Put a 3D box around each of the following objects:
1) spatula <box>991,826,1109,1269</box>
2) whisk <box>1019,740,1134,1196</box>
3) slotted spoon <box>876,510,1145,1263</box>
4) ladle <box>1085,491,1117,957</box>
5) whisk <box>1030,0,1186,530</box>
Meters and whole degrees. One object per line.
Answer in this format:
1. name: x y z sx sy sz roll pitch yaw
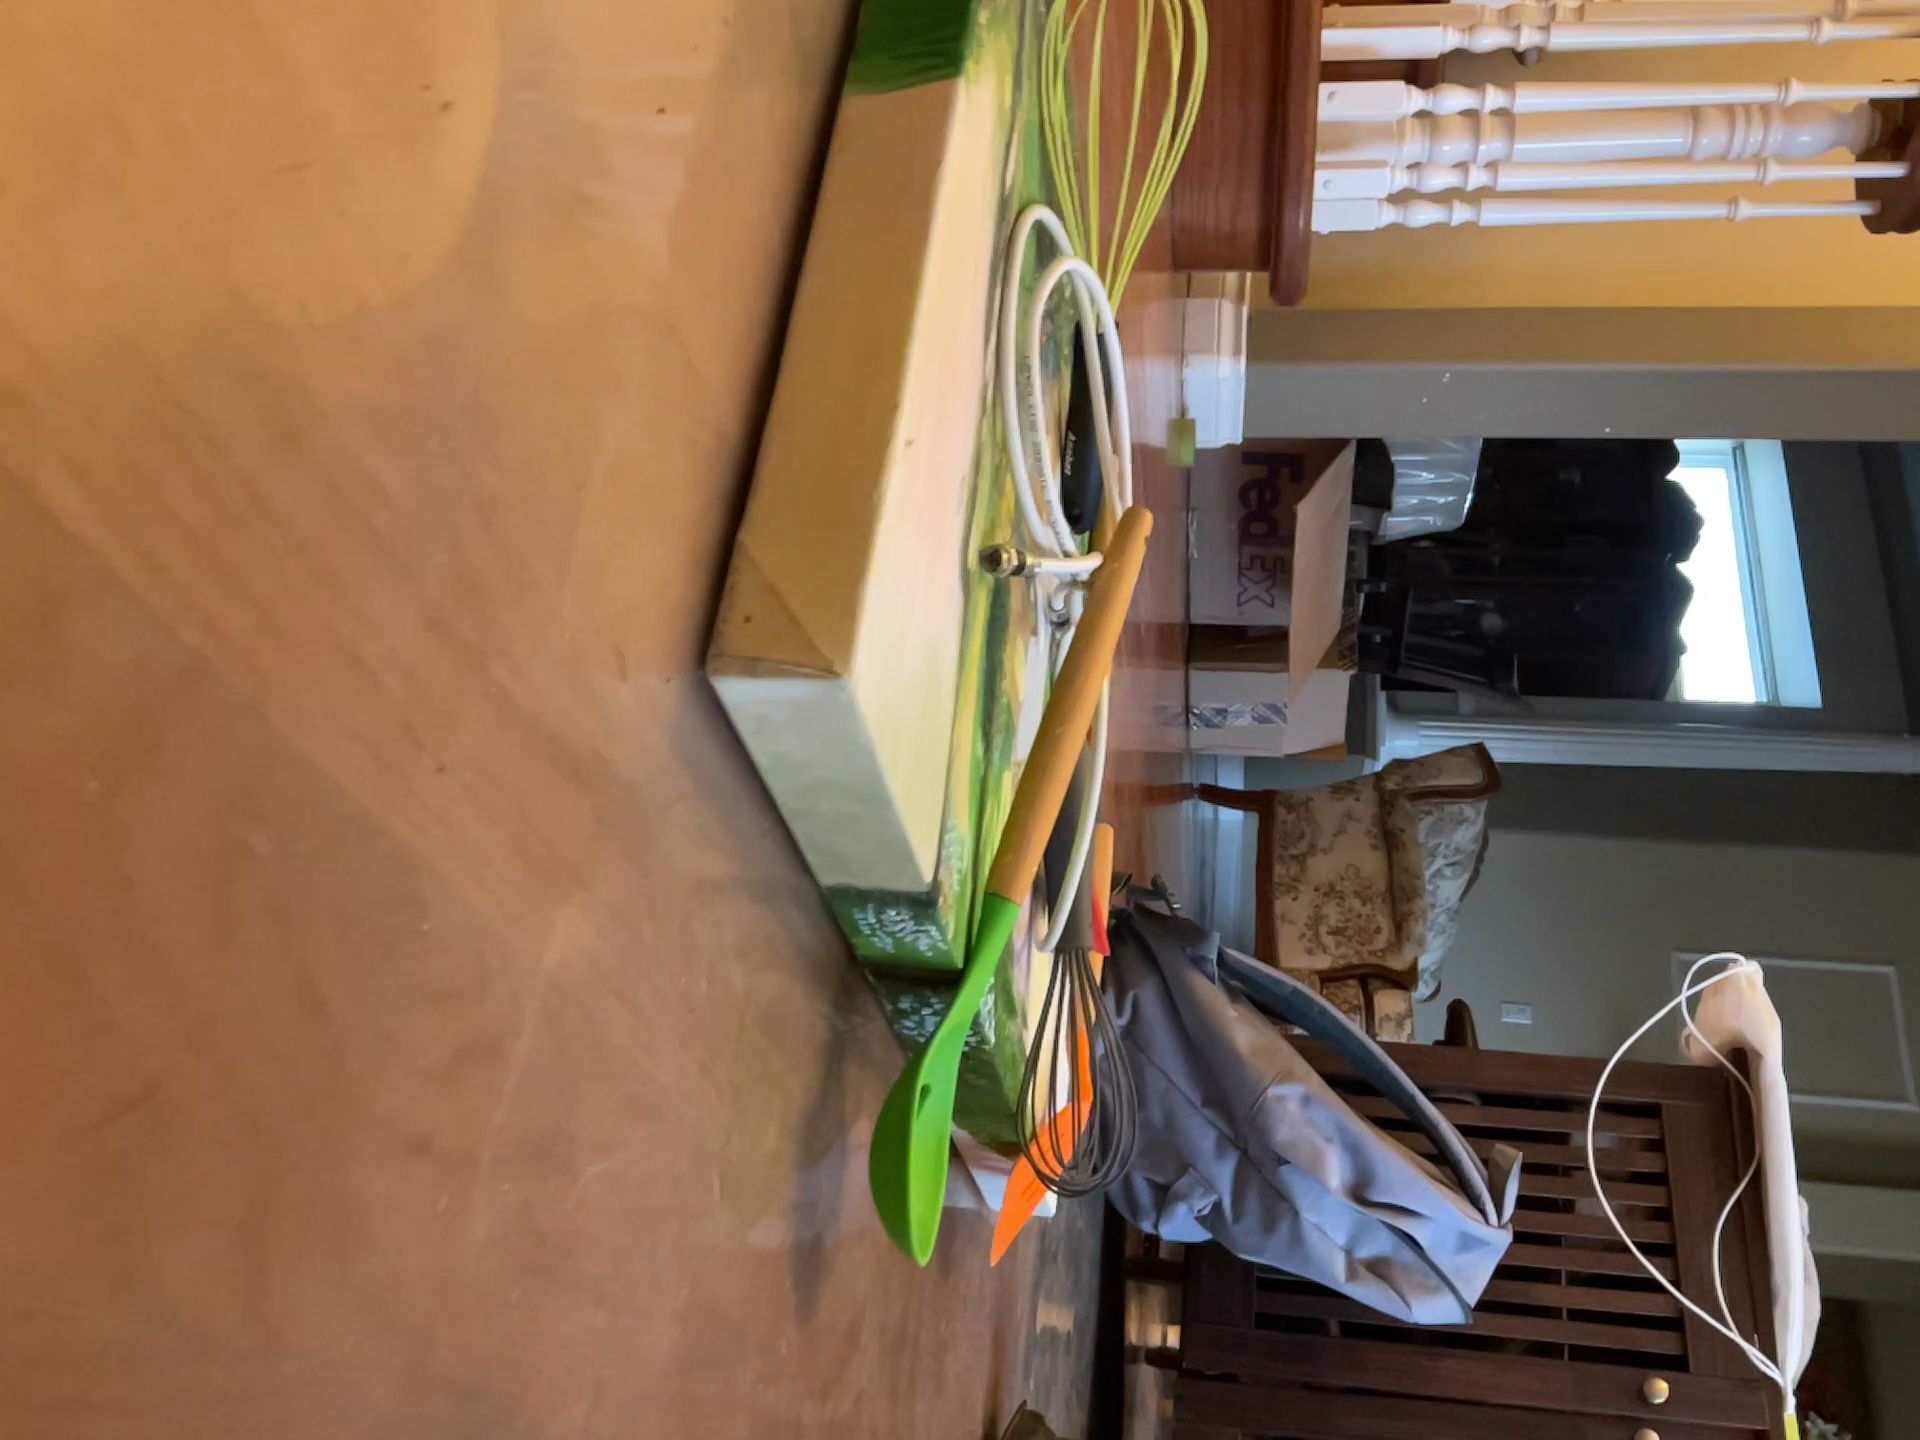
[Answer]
1. spatula: 0.061 0.166 0.924 0.323 0.041 0.081 -76 175 -53
2. whisk: 0.056 0.112 0.788 0.055 0.055 0.239 93 -3 -69
3. slotted spoon: 0.024 0.049 0.618 0.070 0.031 0.314 71 35 -61
4. ladle: 0.081 -0.016 0.942 0.069 0.031 0.316 69 23 -67
5. whisk: 0.064 -0.217 0.760 0.080 0.067 0.311 -69 165 -44
